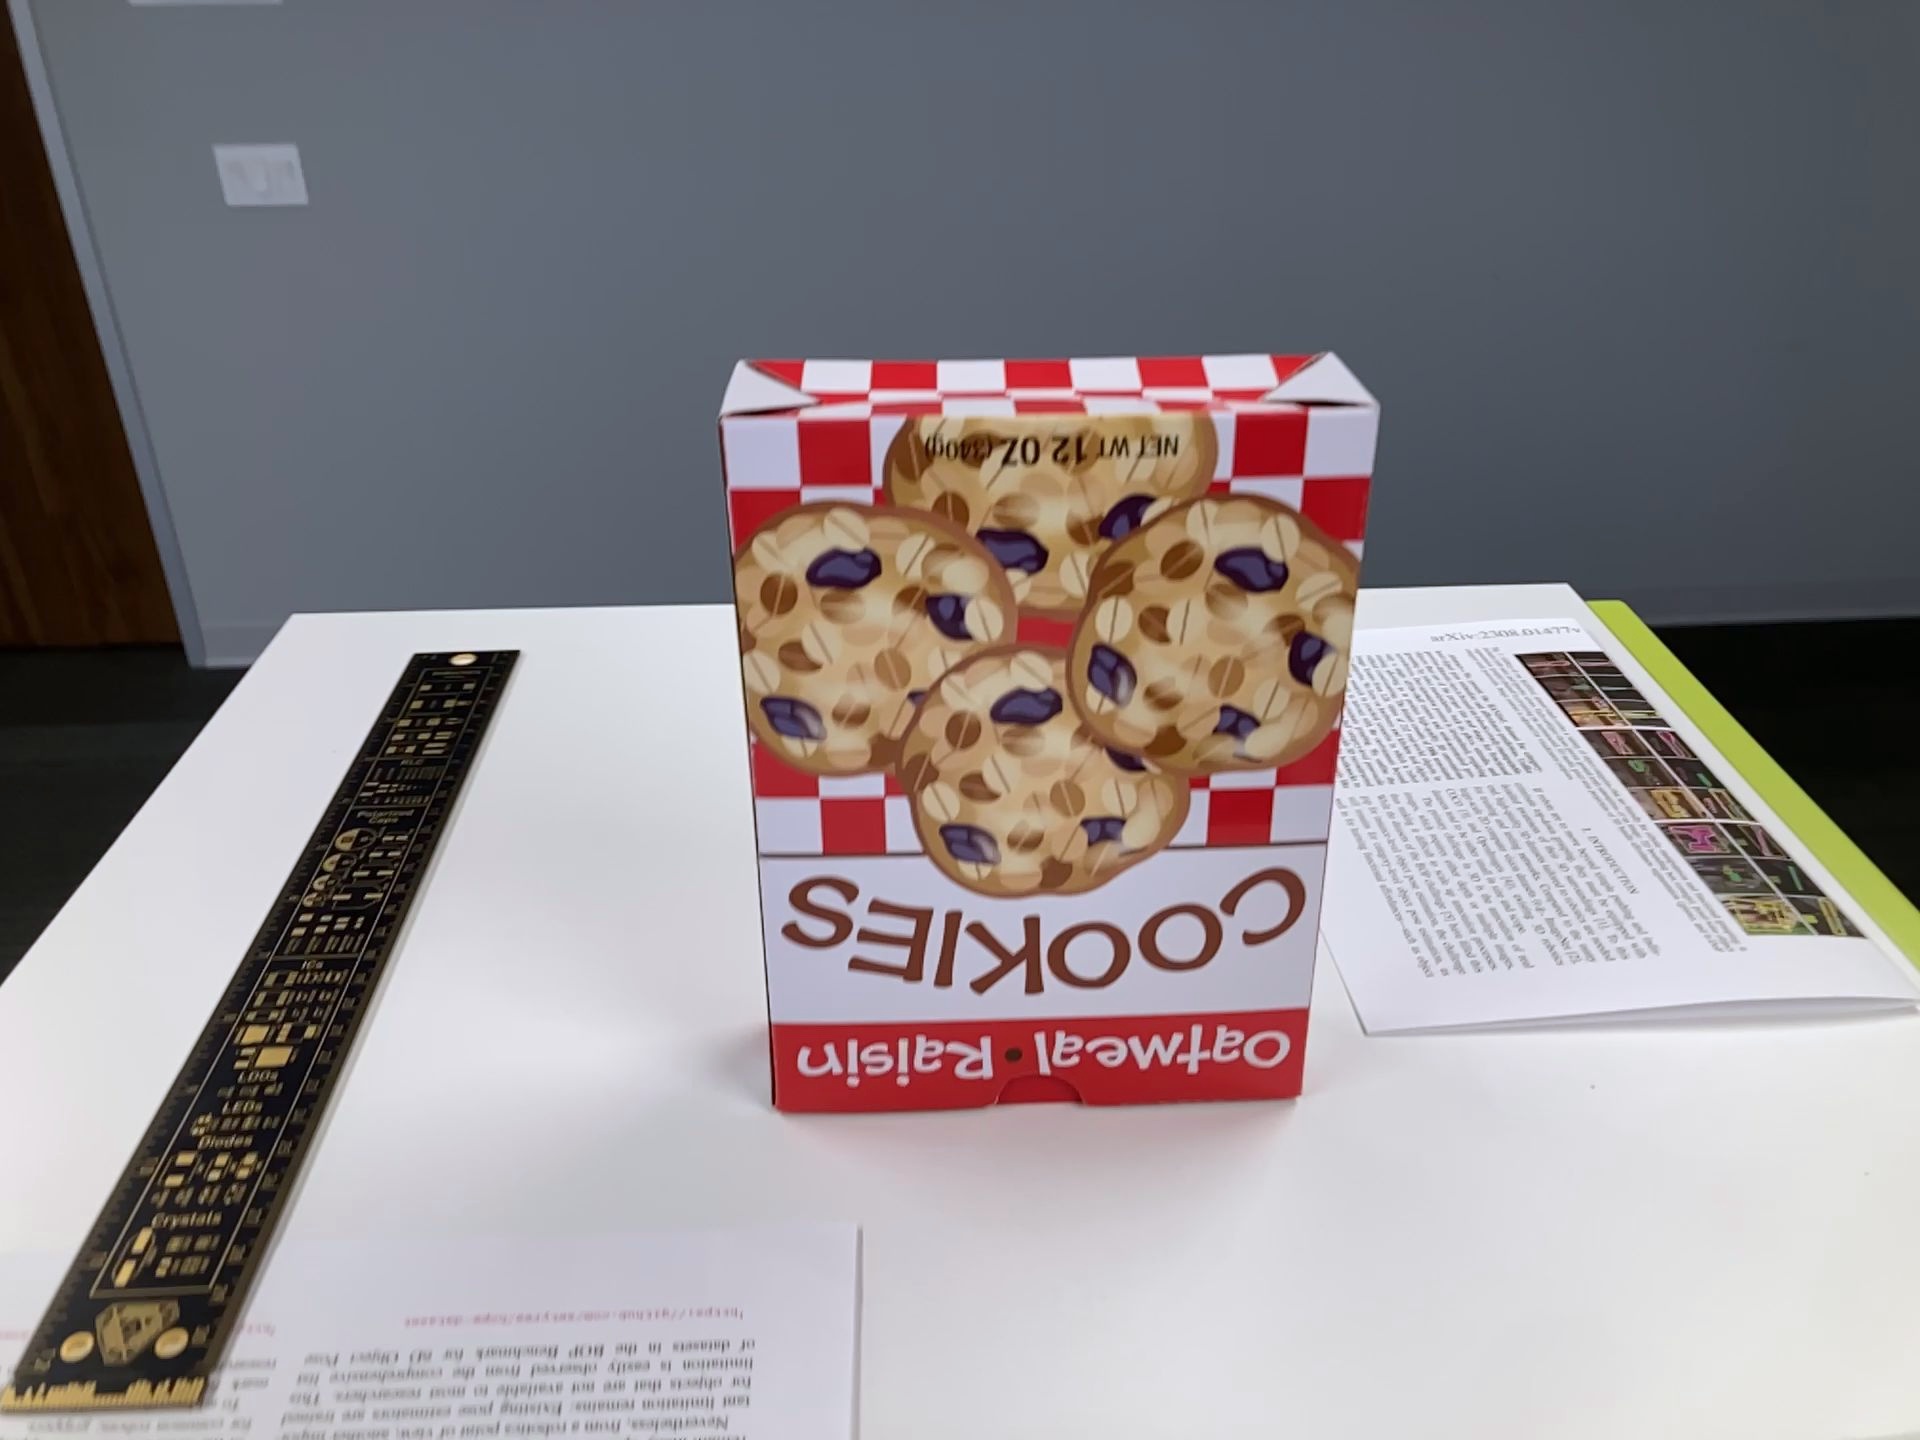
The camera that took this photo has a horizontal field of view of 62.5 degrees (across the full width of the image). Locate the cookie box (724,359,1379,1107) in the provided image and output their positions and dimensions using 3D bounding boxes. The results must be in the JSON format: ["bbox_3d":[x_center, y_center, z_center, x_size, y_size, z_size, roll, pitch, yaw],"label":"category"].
[{"bbox_3d":[0.017,0.009,0.347,0.123,0.167,0.040,-1,28,-1],"label":"cookie box"}]
